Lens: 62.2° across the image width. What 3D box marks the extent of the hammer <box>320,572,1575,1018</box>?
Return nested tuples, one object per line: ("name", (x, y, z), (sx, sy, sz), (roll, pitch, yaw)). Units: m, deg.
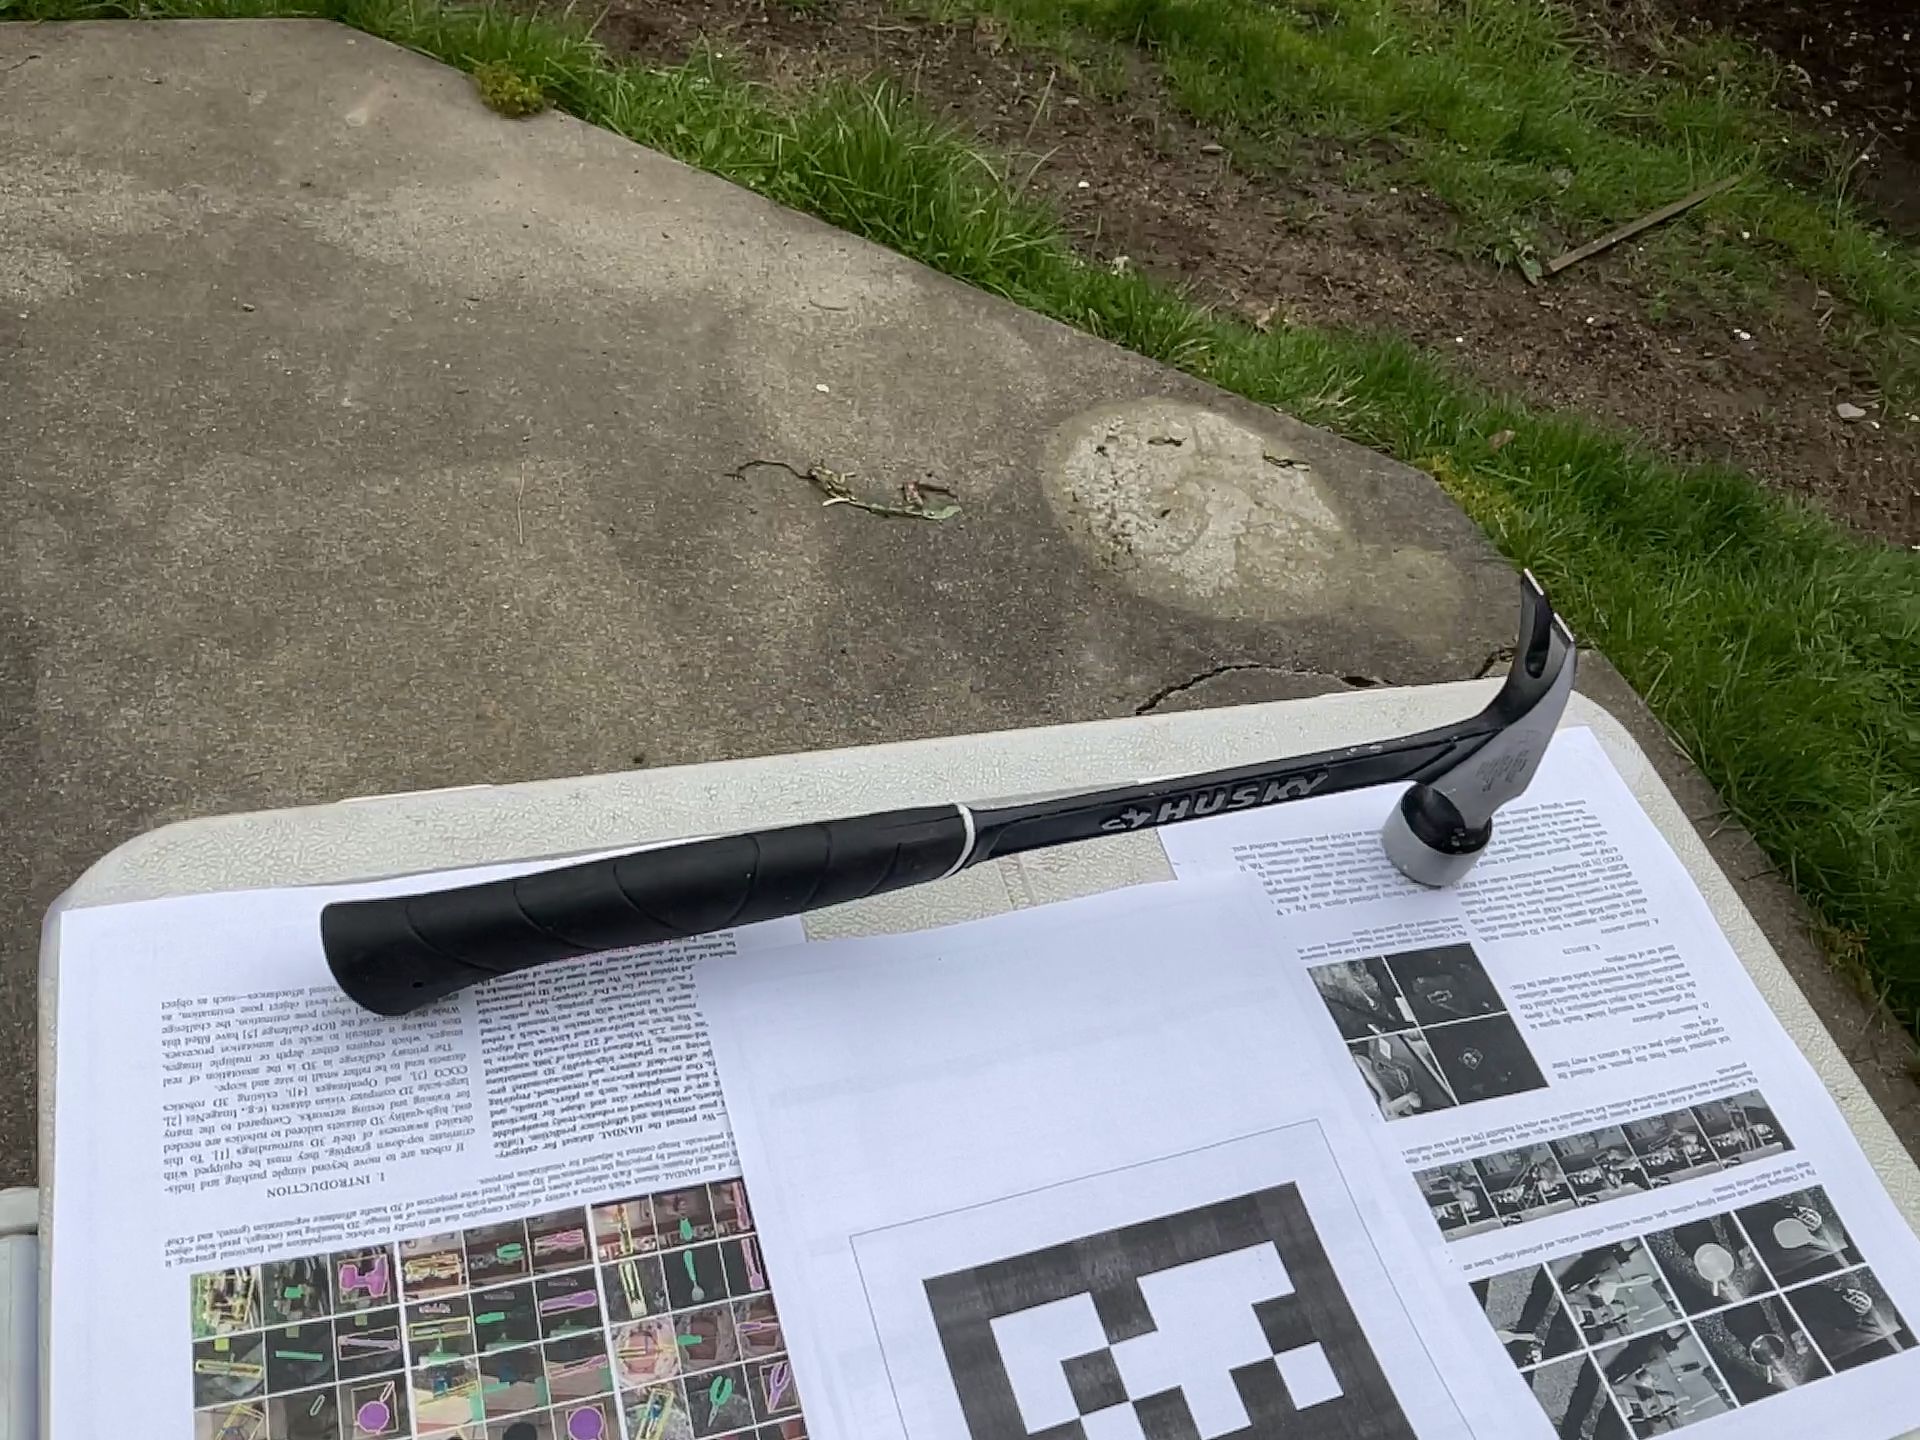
("hammer", (0.013, 0.036, 0.511), (0.408, 0.149, 0.036), (-9, 55, -16))
